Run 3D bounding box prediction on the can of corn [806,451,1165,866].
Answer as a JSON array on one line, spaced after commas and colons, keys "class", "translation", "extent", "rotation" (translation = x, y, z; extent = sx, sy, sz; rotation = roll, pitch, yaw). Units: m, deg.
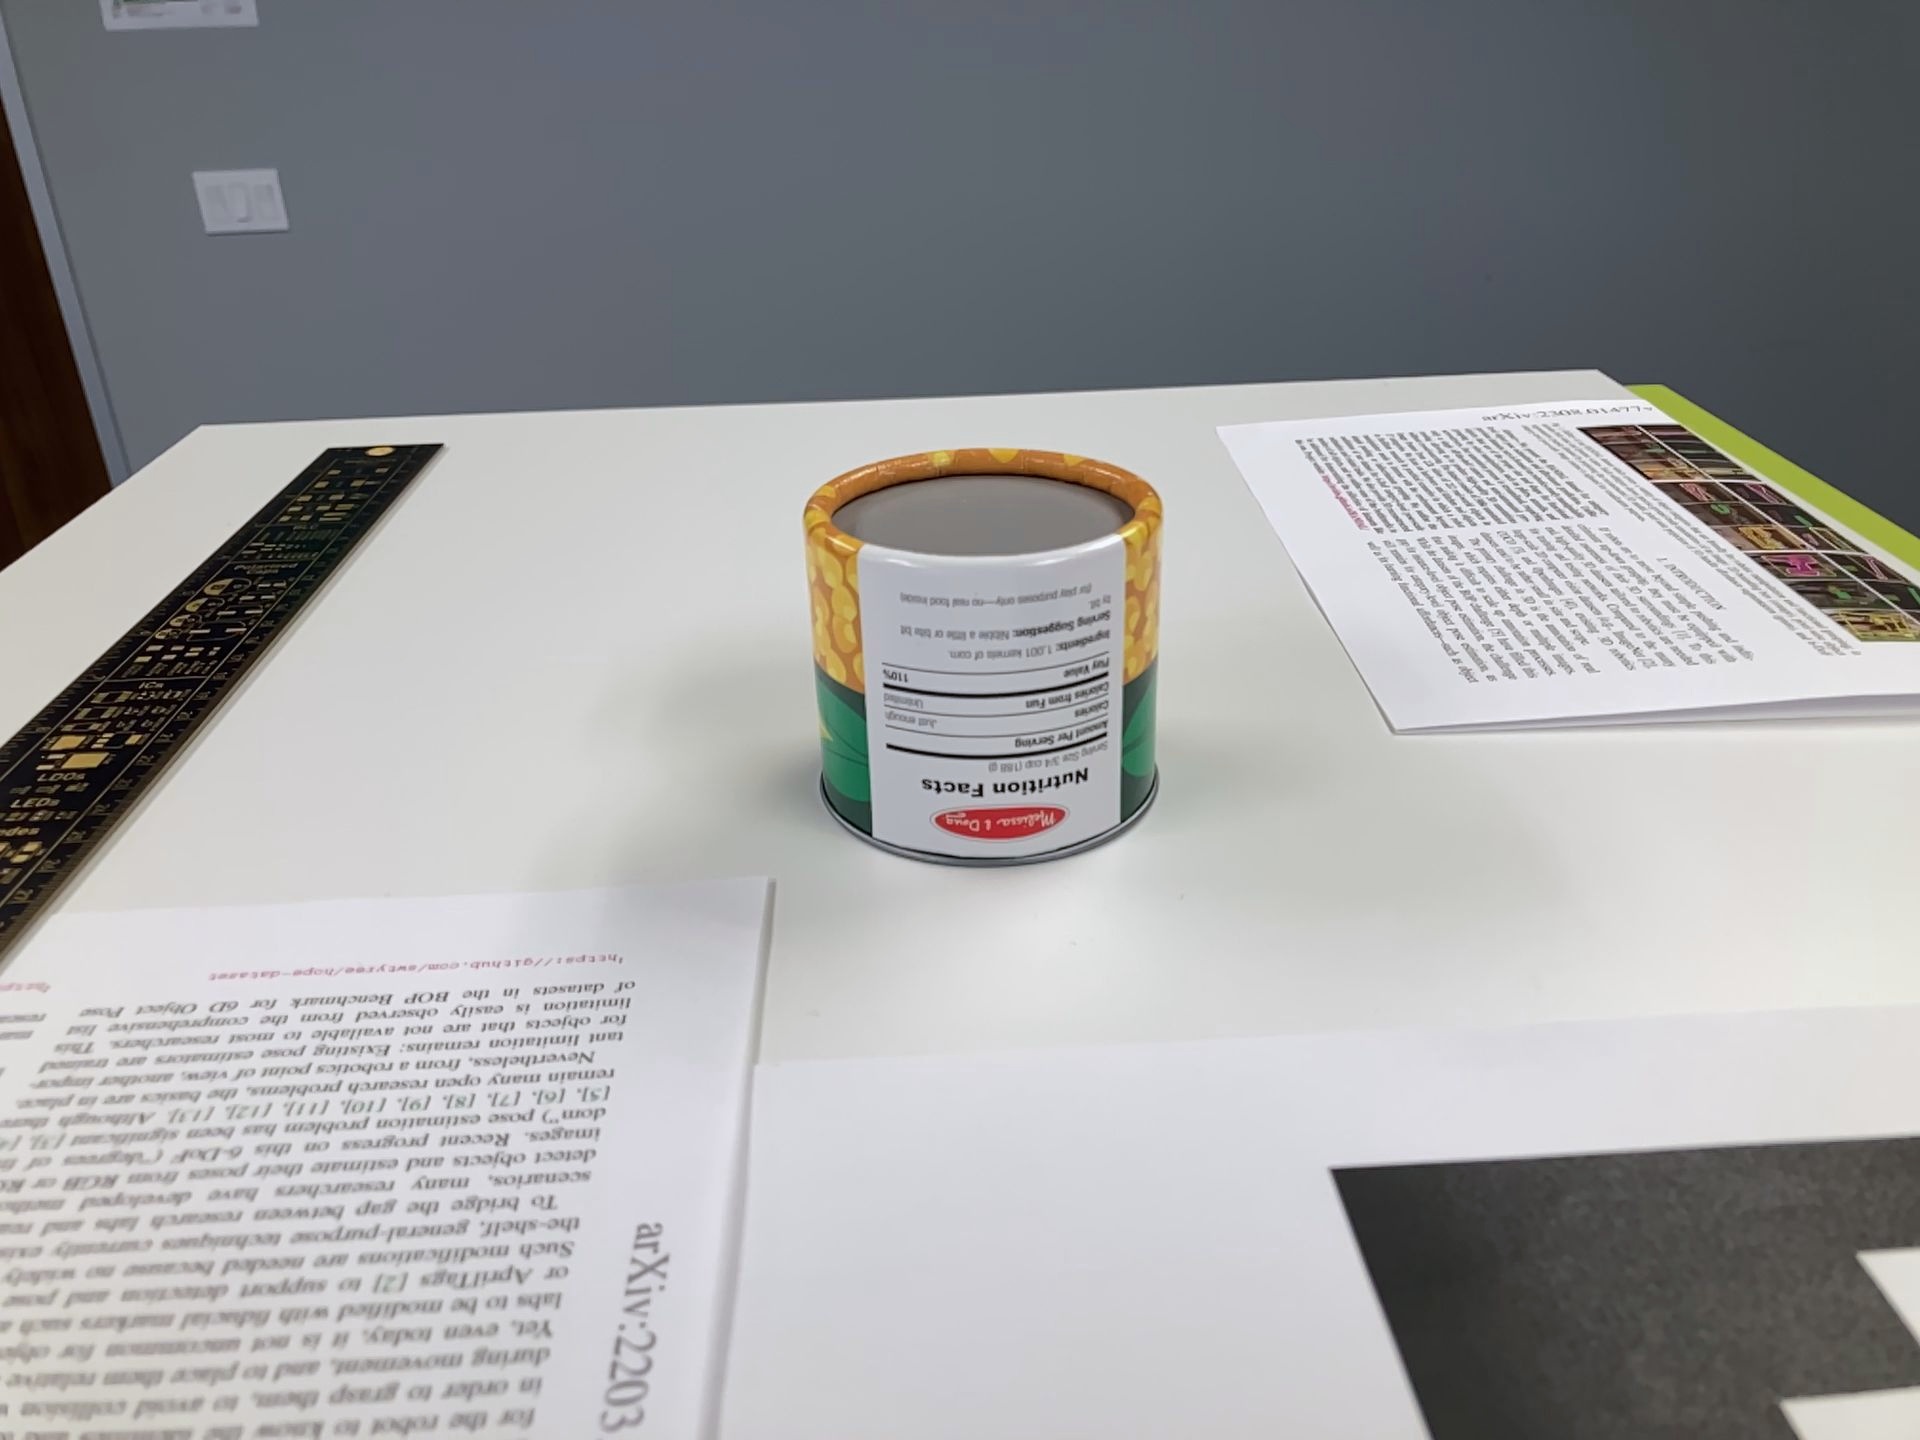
[{"class": "can of corn", "translation": [0.005, -0.015, 0.303], "extent": [0.071, 0.058, 0.071], "rotation": [-2, 26, 1]}]
